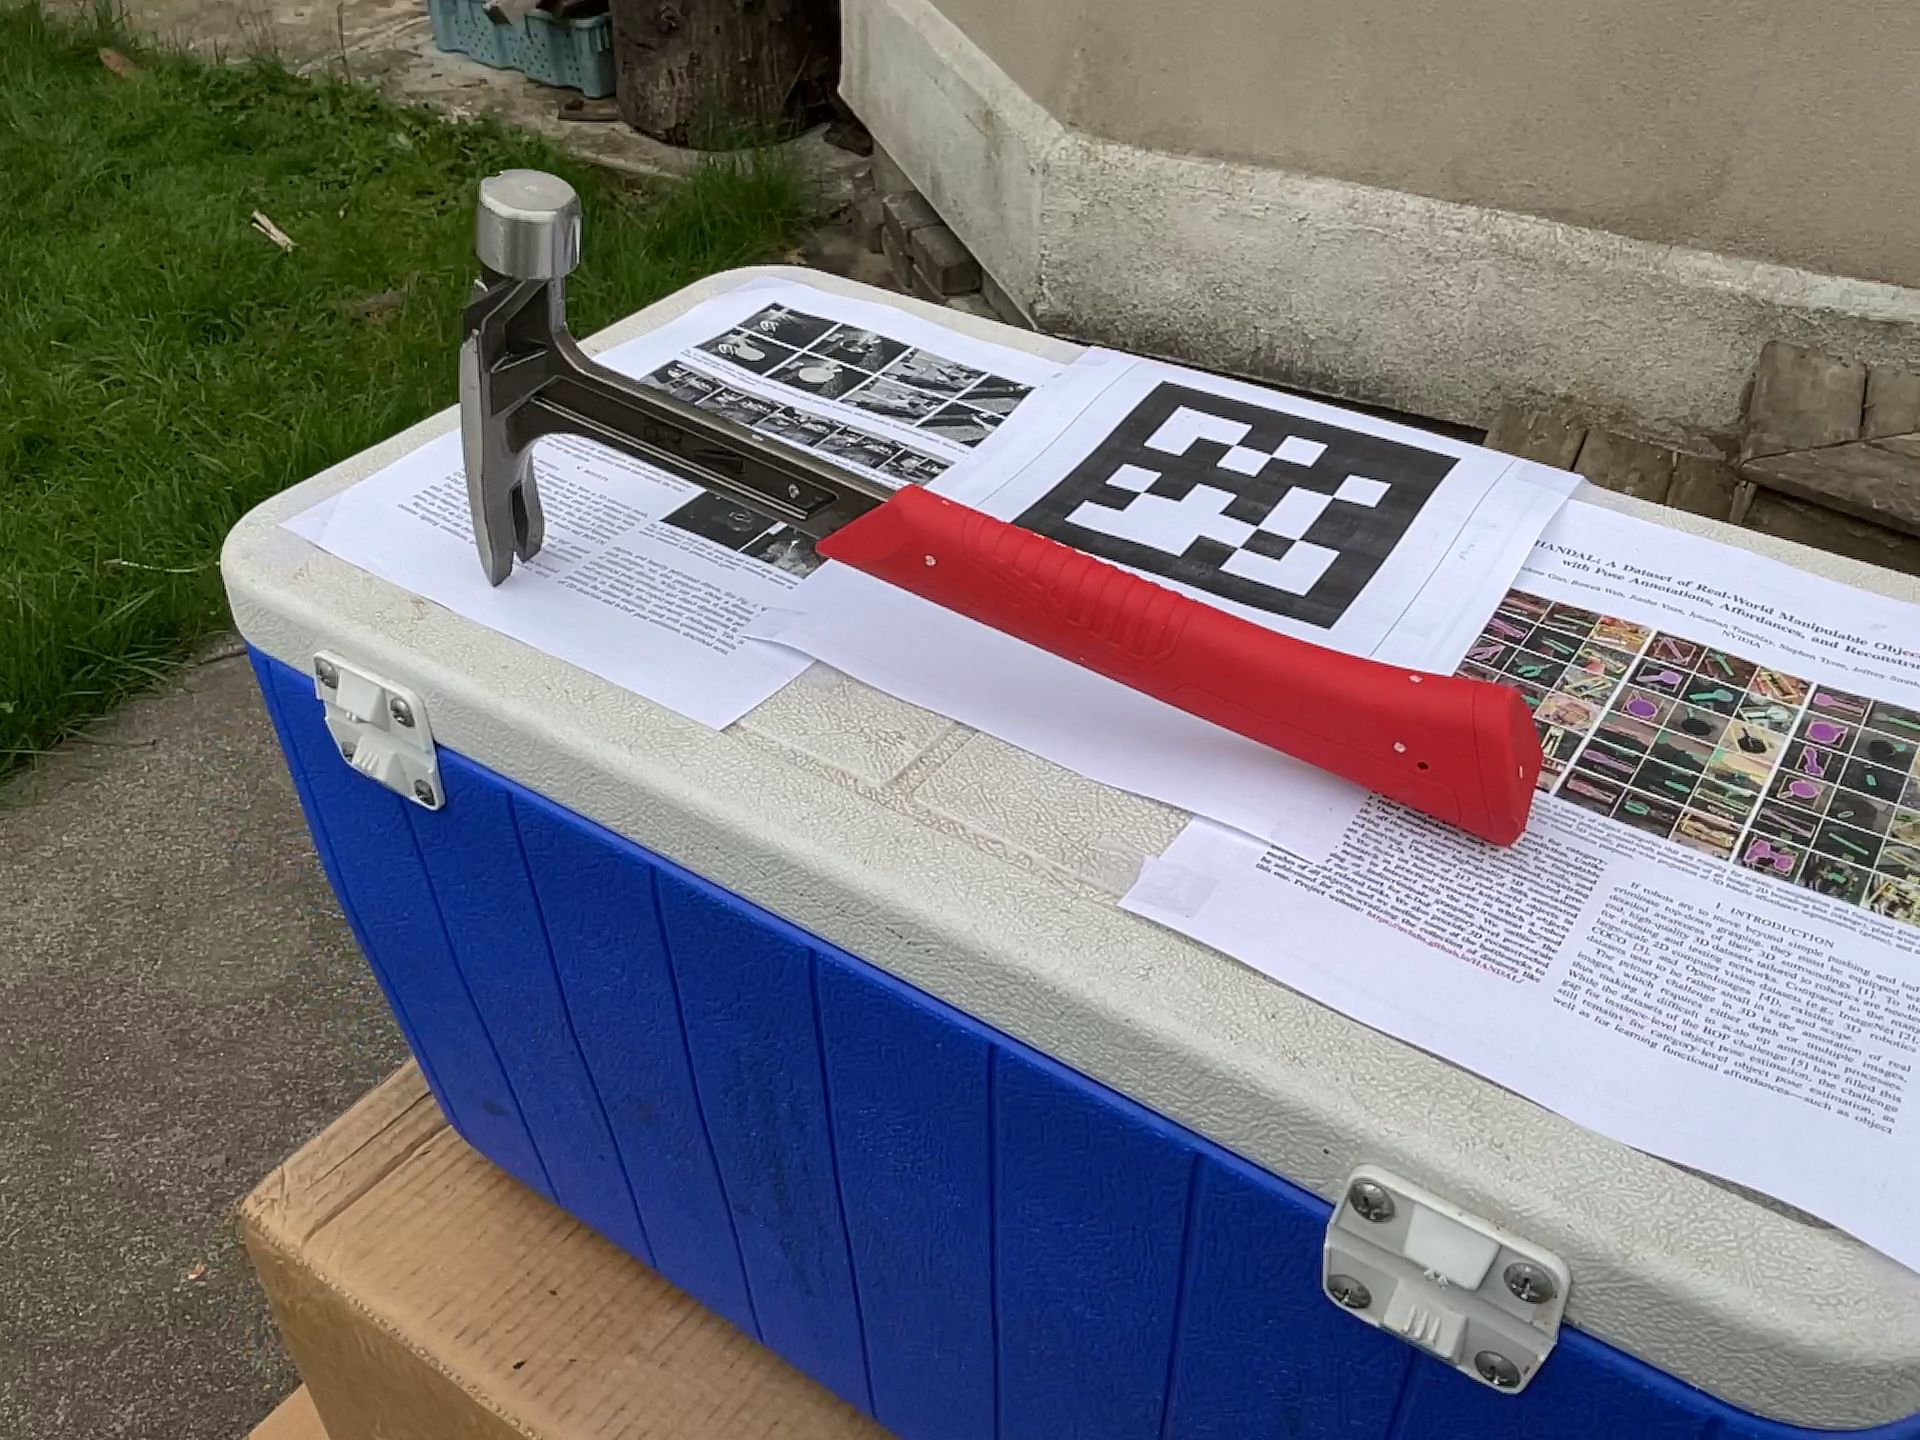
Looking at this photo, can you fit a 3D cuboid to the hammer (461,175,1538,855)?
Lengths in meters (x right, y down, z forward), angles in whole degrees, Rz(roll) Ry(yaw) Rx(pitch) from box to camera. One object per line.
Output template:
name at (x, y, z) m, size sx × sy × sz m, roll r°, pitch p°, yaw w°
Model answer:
hammer at (0.000, -0.041, 0.500) m, size 0.359 × 0.149 × 0.037 m, roll 24°, pitch 43°, yaw 11°
